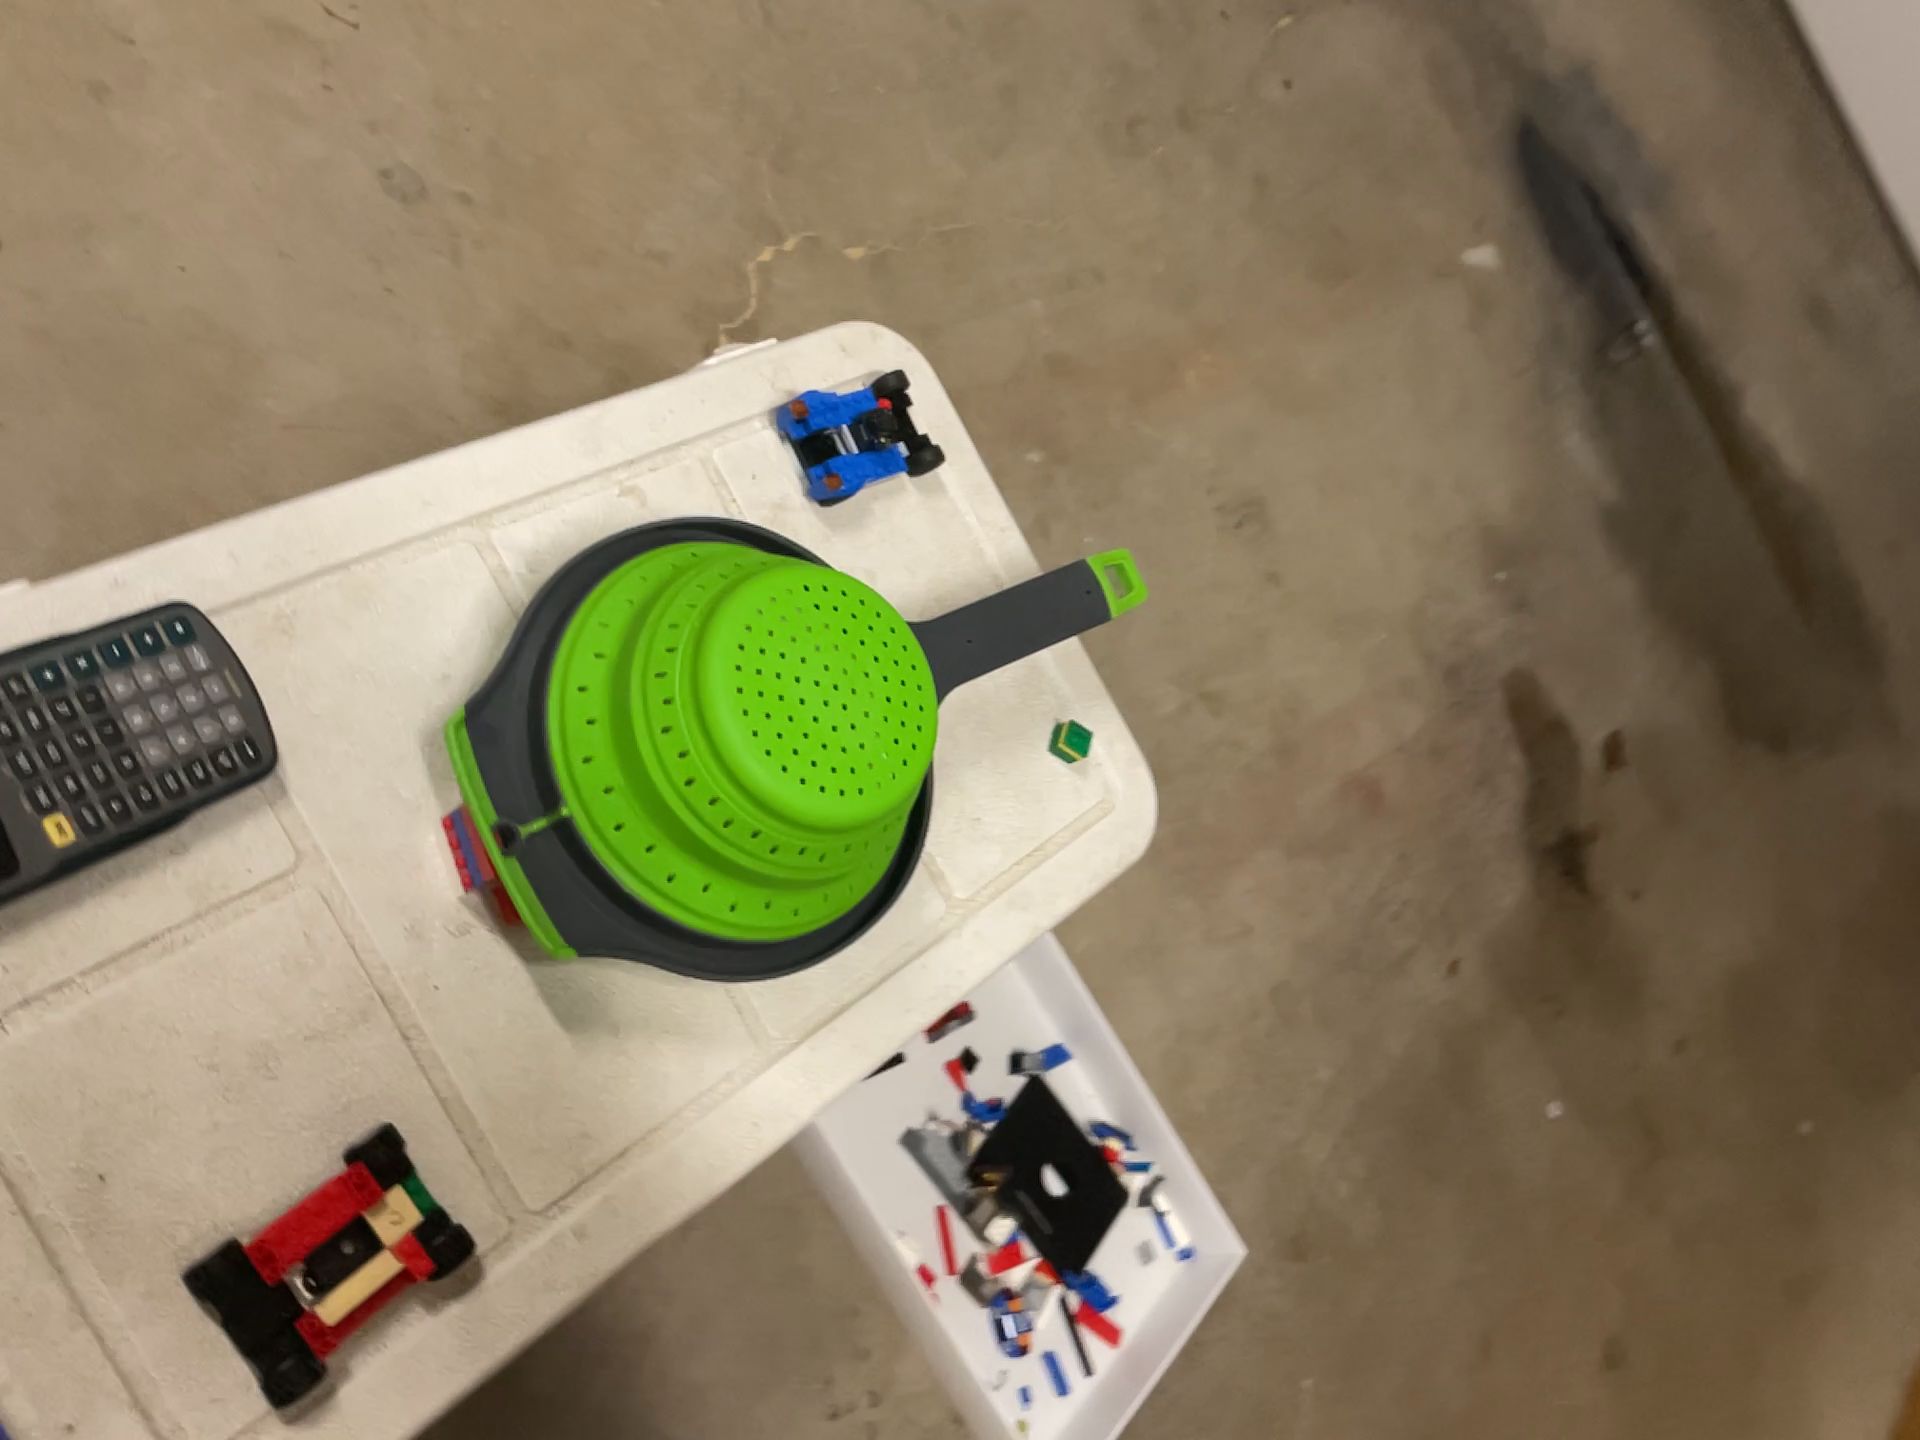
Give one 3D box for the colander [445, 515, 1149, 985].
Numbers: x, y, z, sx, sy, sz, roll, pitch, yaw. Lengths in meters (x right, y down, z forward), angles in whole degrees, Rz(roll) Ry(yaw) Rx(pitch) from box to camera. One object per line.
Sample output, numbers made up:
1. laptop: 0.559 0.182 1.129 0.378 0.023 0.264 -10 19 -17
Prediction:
1. colander: -0.021 -0.026 0.708 0.397 0.094 0.204 -25 90 -41
